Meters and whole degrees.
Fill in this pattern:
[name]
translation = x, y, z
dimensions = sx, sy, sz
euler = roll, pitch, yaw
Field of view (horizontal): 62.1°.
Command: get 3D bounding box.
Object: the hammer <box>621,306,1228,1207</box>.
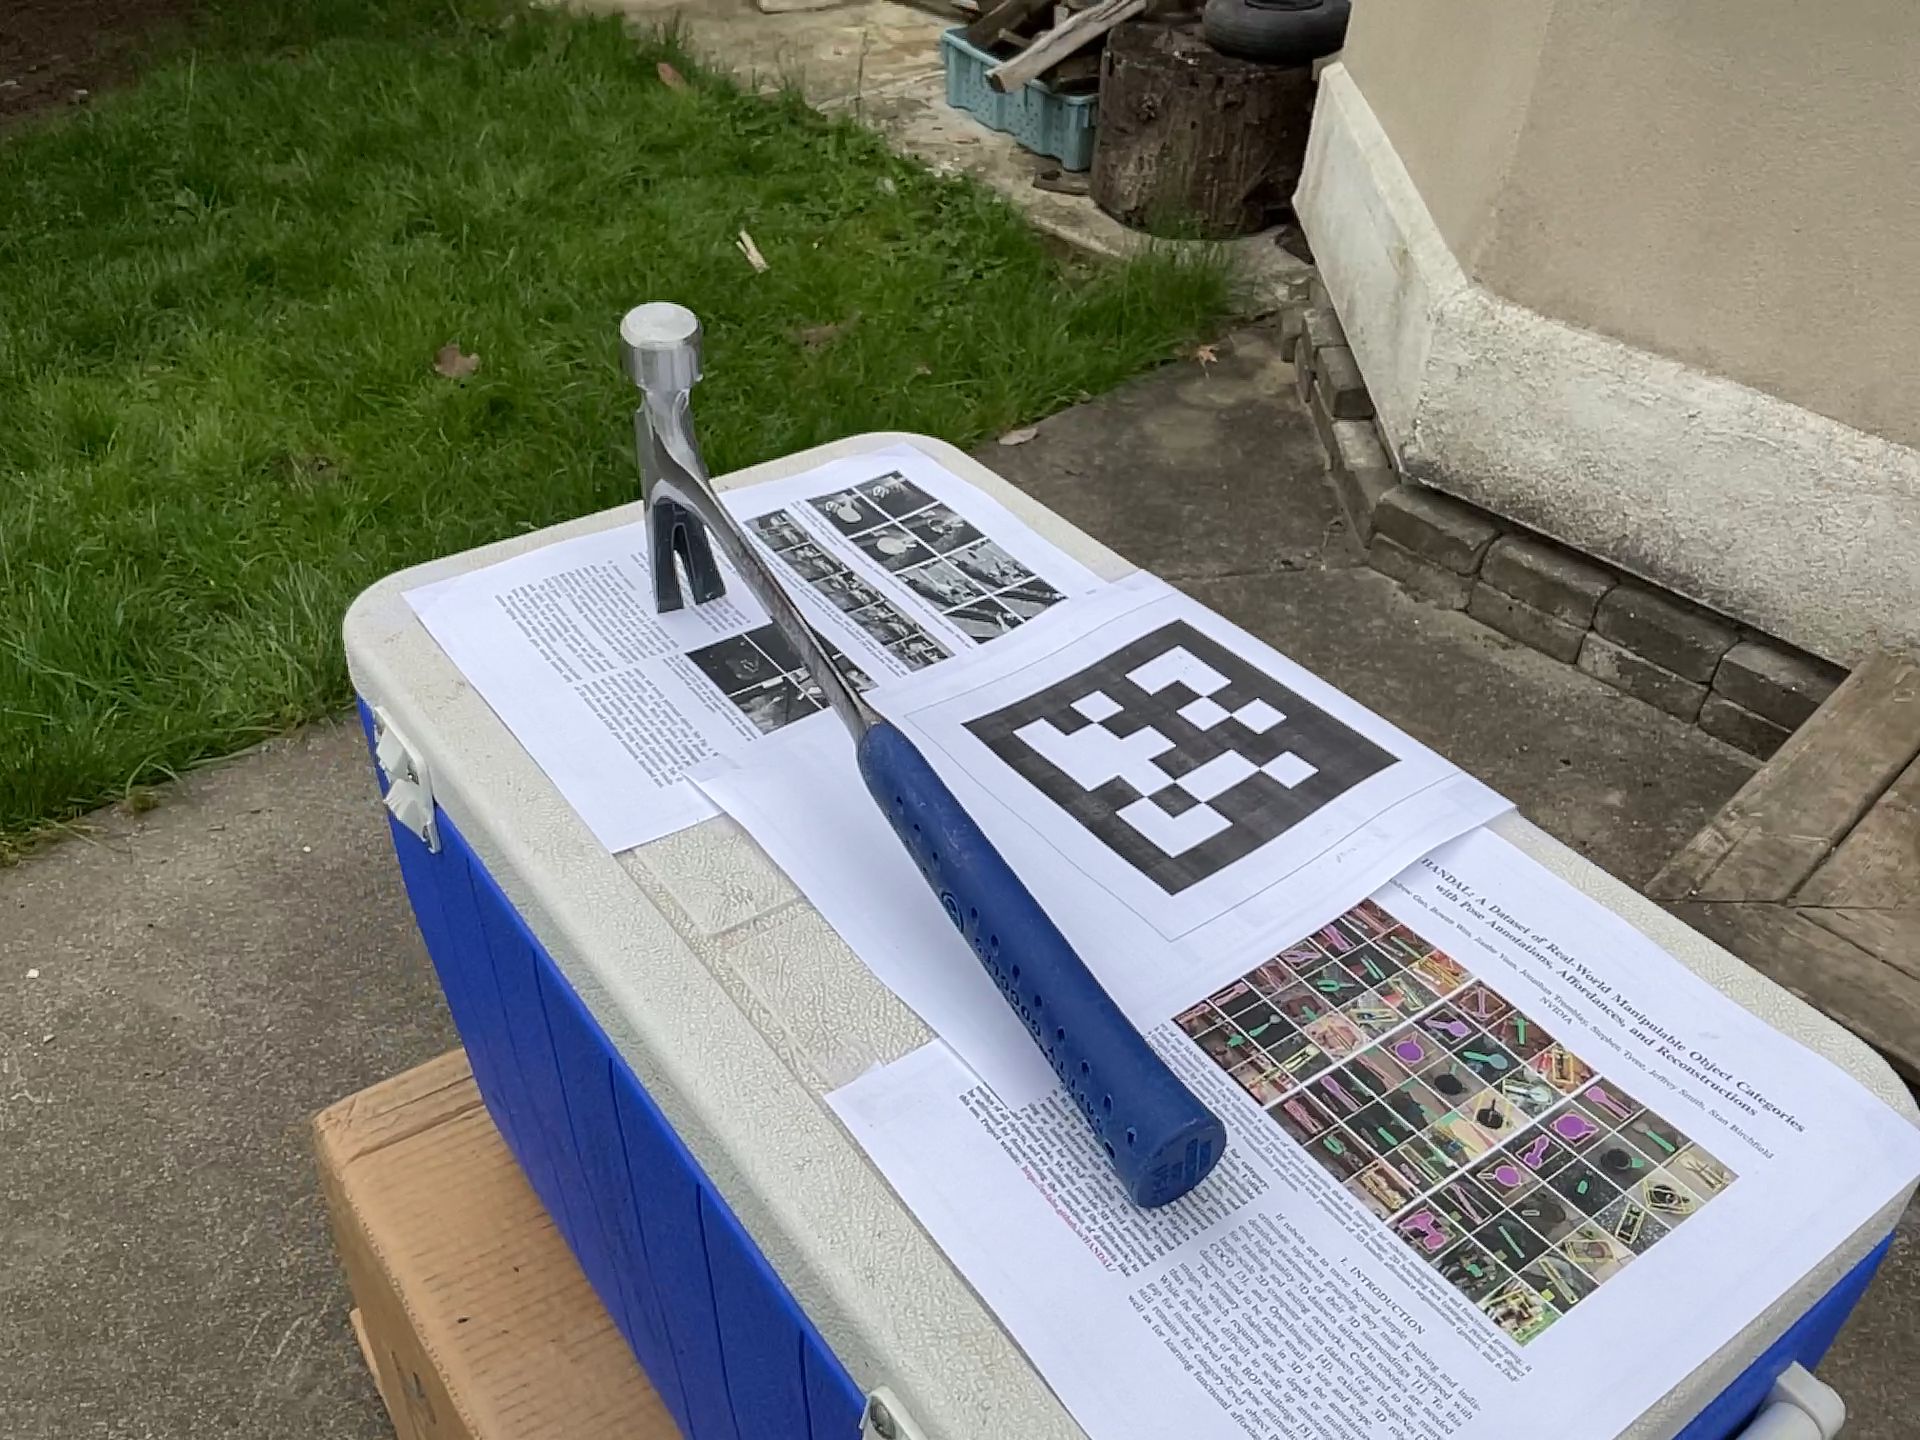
[hammer]
translation = -0.035, 0.007, 0.595
dimensions = 0.035, 0.144, 0.406
euler = -20, 50, -23
